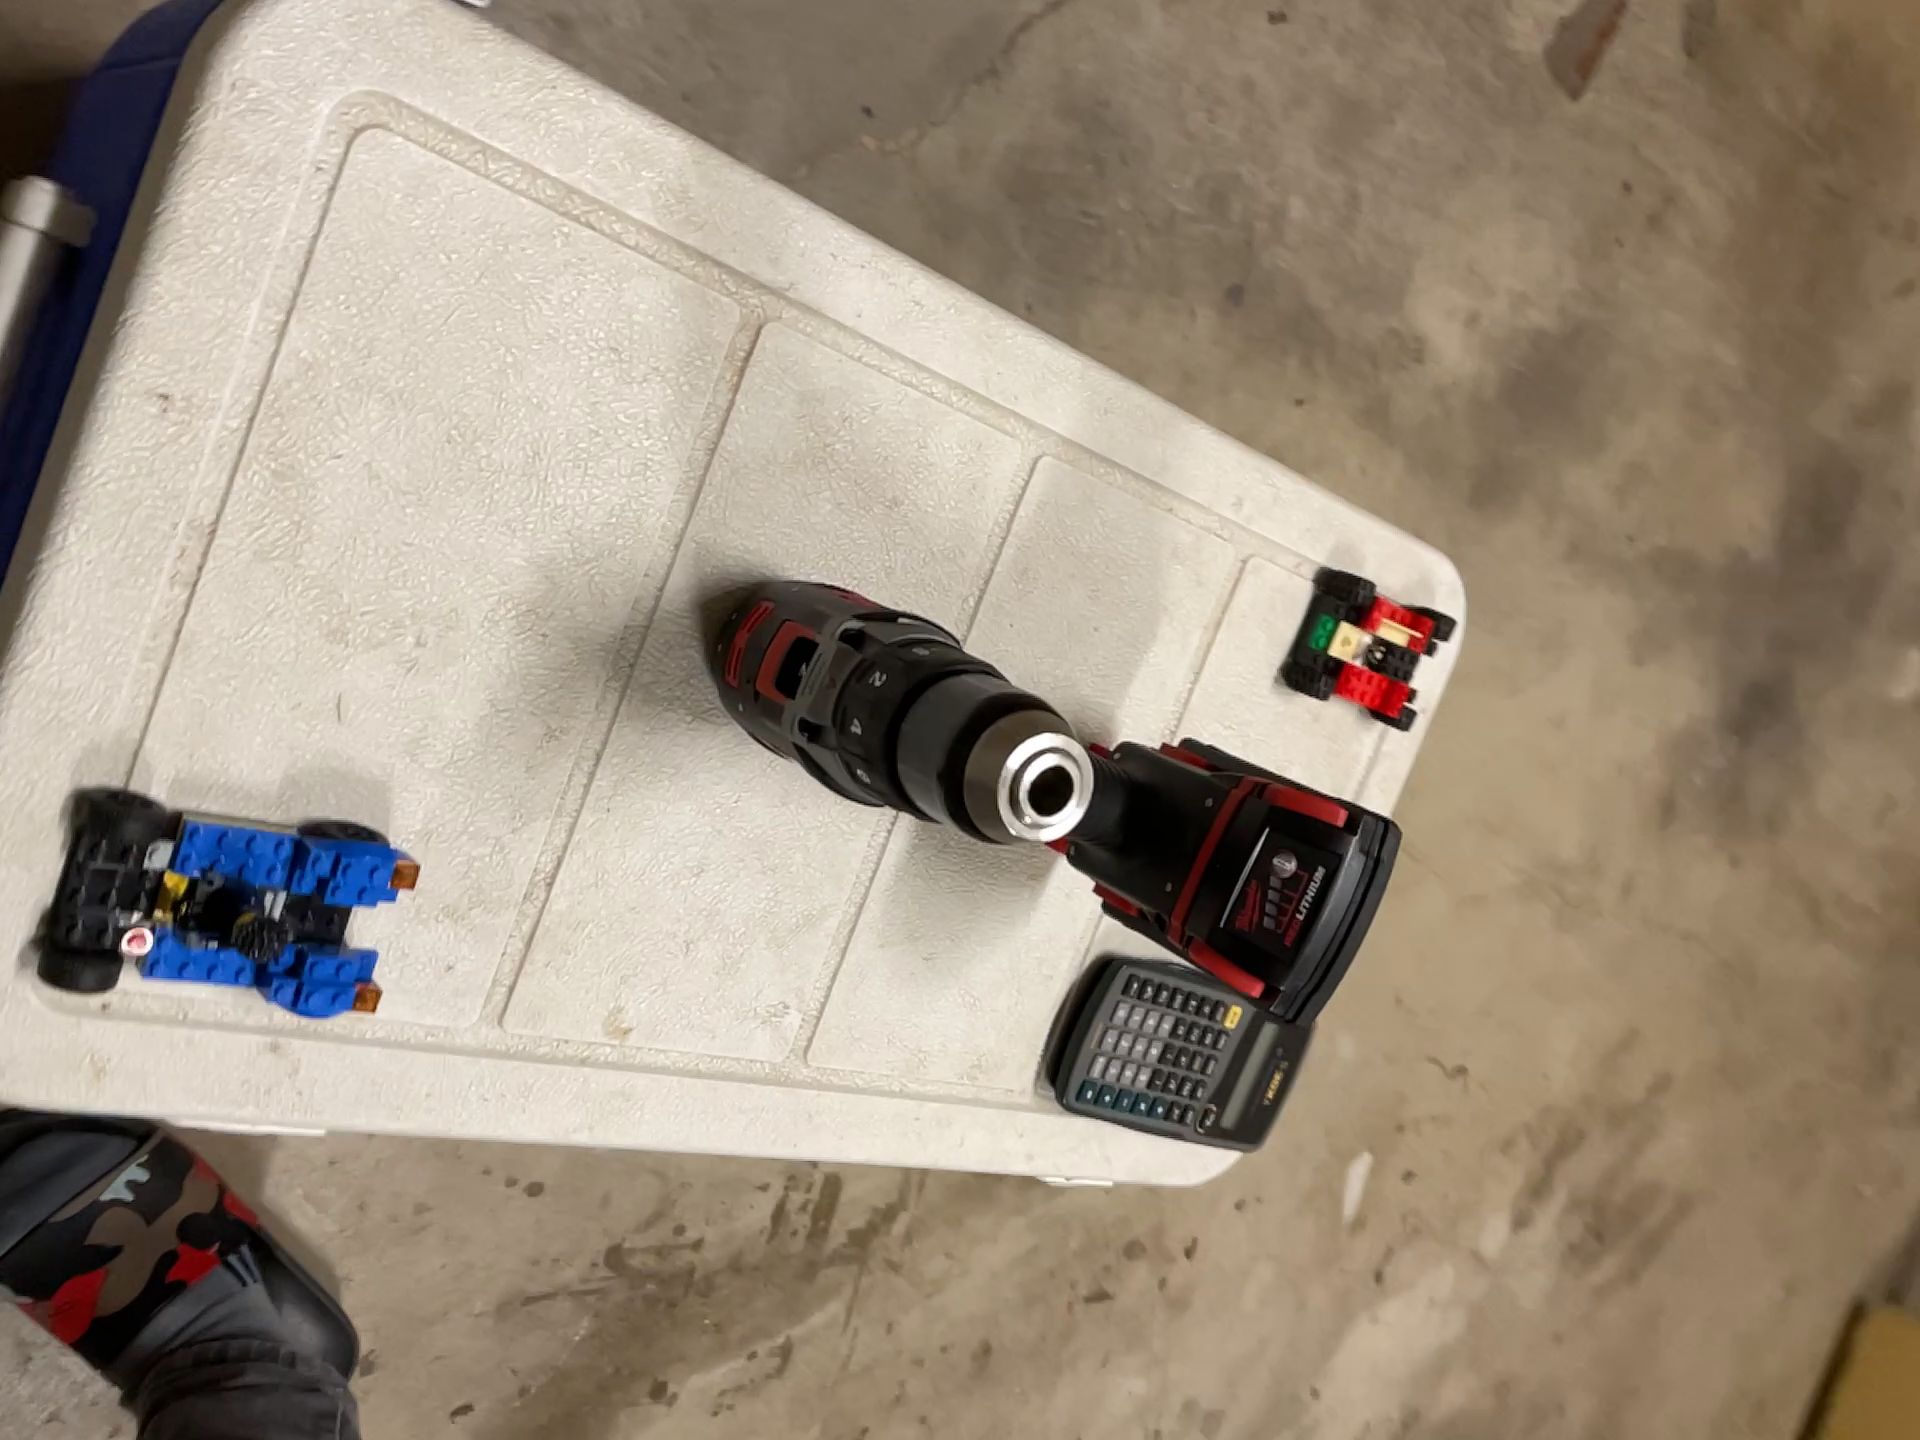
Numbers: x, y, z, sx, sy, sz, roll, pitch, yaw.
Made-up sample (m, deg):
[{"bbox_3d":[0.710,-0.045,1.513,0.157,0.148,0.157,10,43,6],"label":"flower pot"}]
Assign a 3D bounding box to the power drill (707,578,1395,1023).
[{"bbox_3d":[0.040,0.026,0.526,0.226,0.188,0.080,25,90,-31],"label":"power drill"}]
